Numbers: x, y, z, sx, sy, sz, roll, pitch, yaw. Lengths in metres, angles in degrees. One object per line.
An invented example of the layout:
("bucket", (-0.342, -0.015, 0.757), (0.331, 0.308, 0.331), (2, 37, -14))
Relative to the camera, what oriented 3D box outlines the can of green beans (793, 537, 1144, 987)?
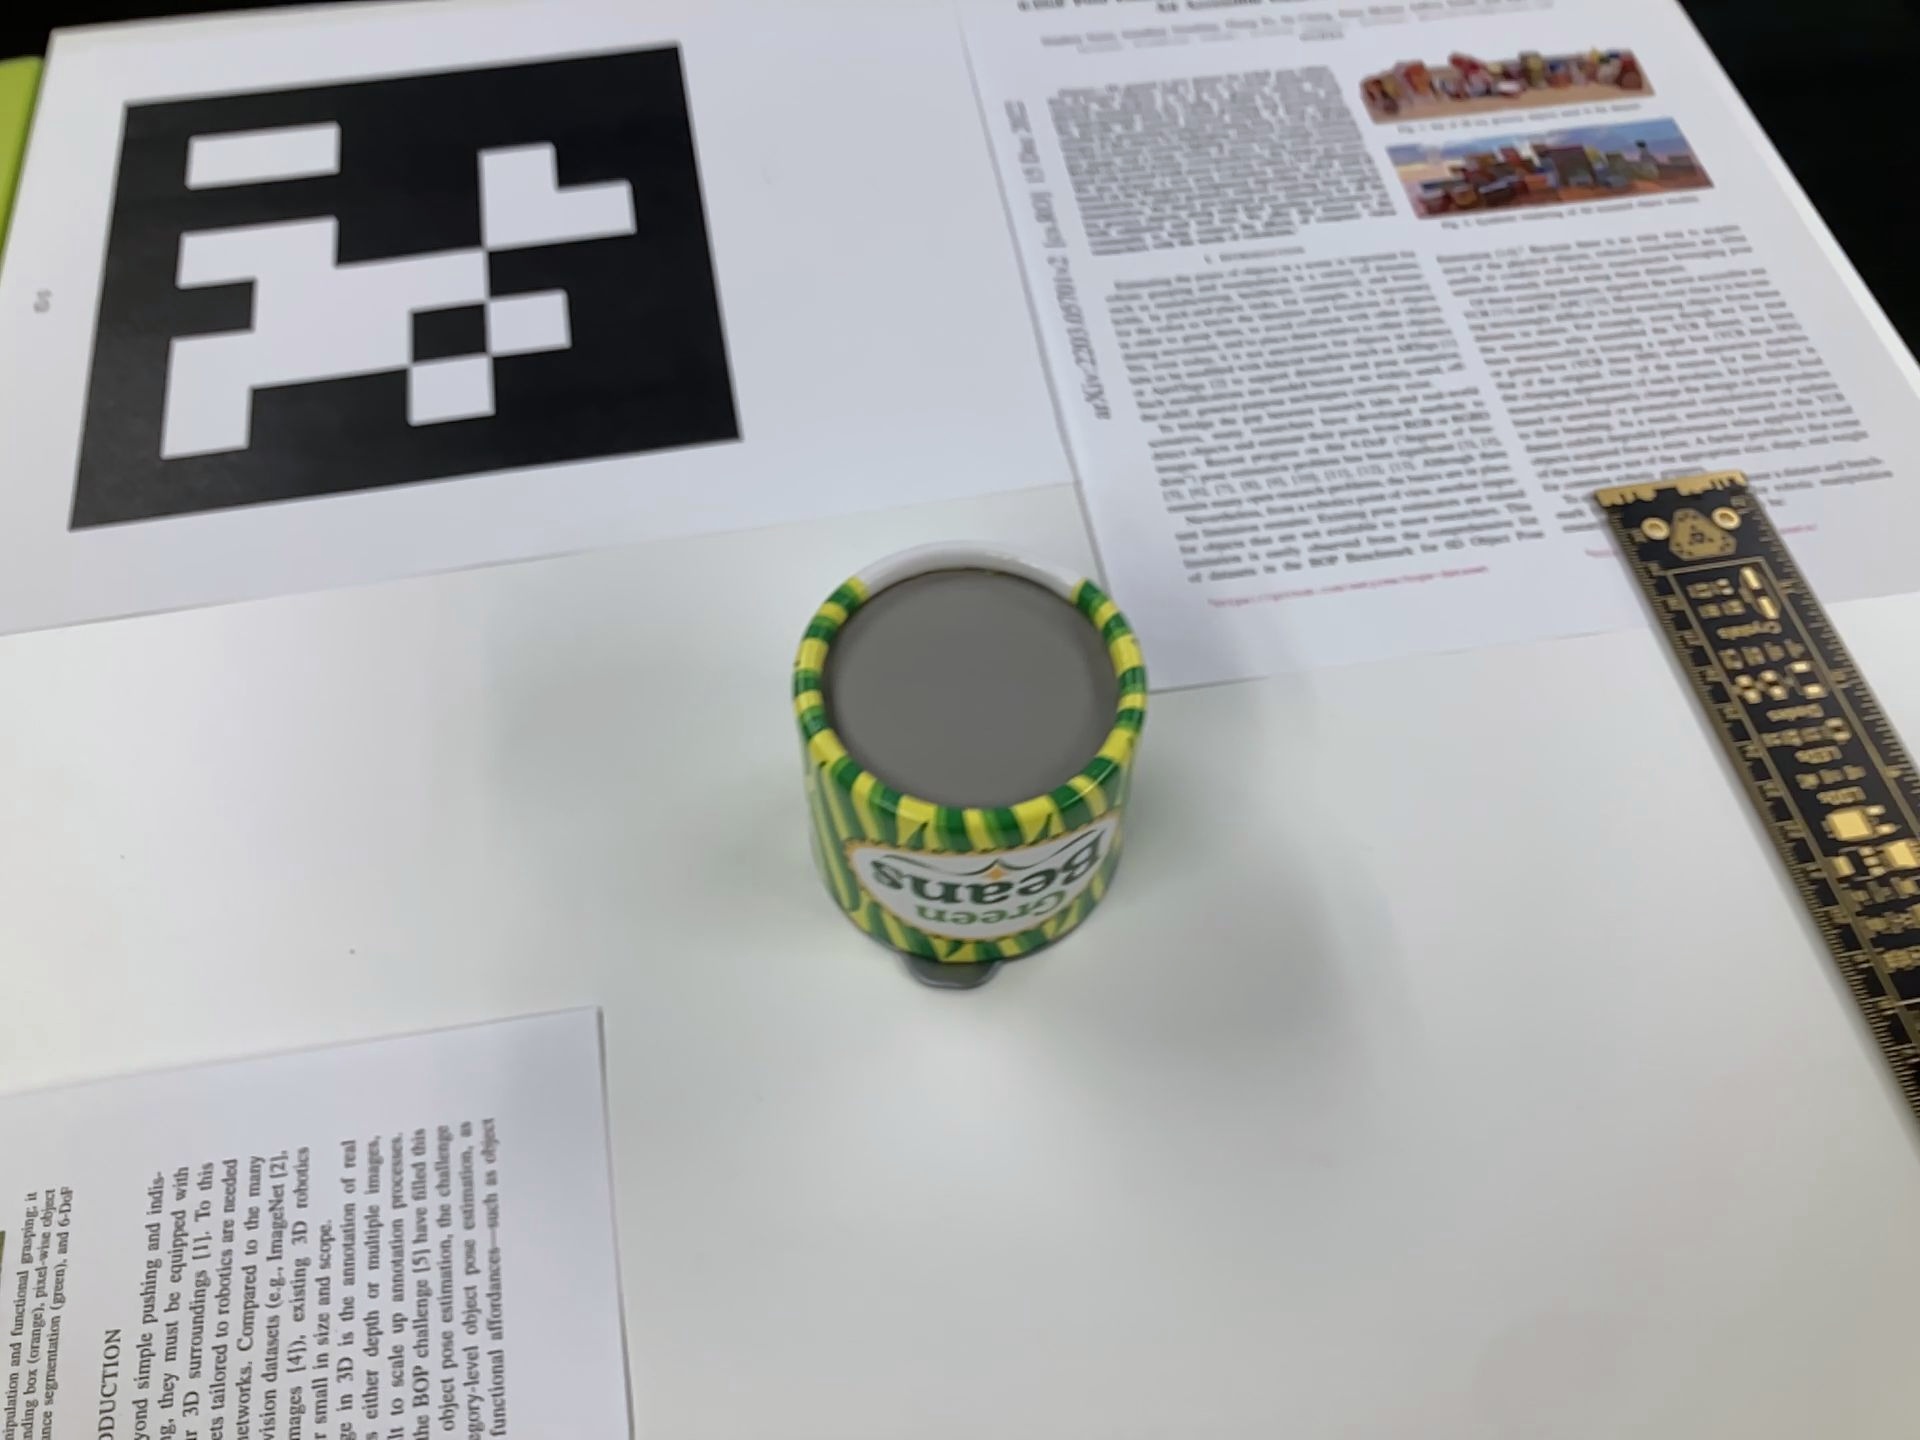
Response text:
("can of green beans", (0.001, 0.006, 0.319), (0.071, 0.058, 0.071), (0, 58, -1))
